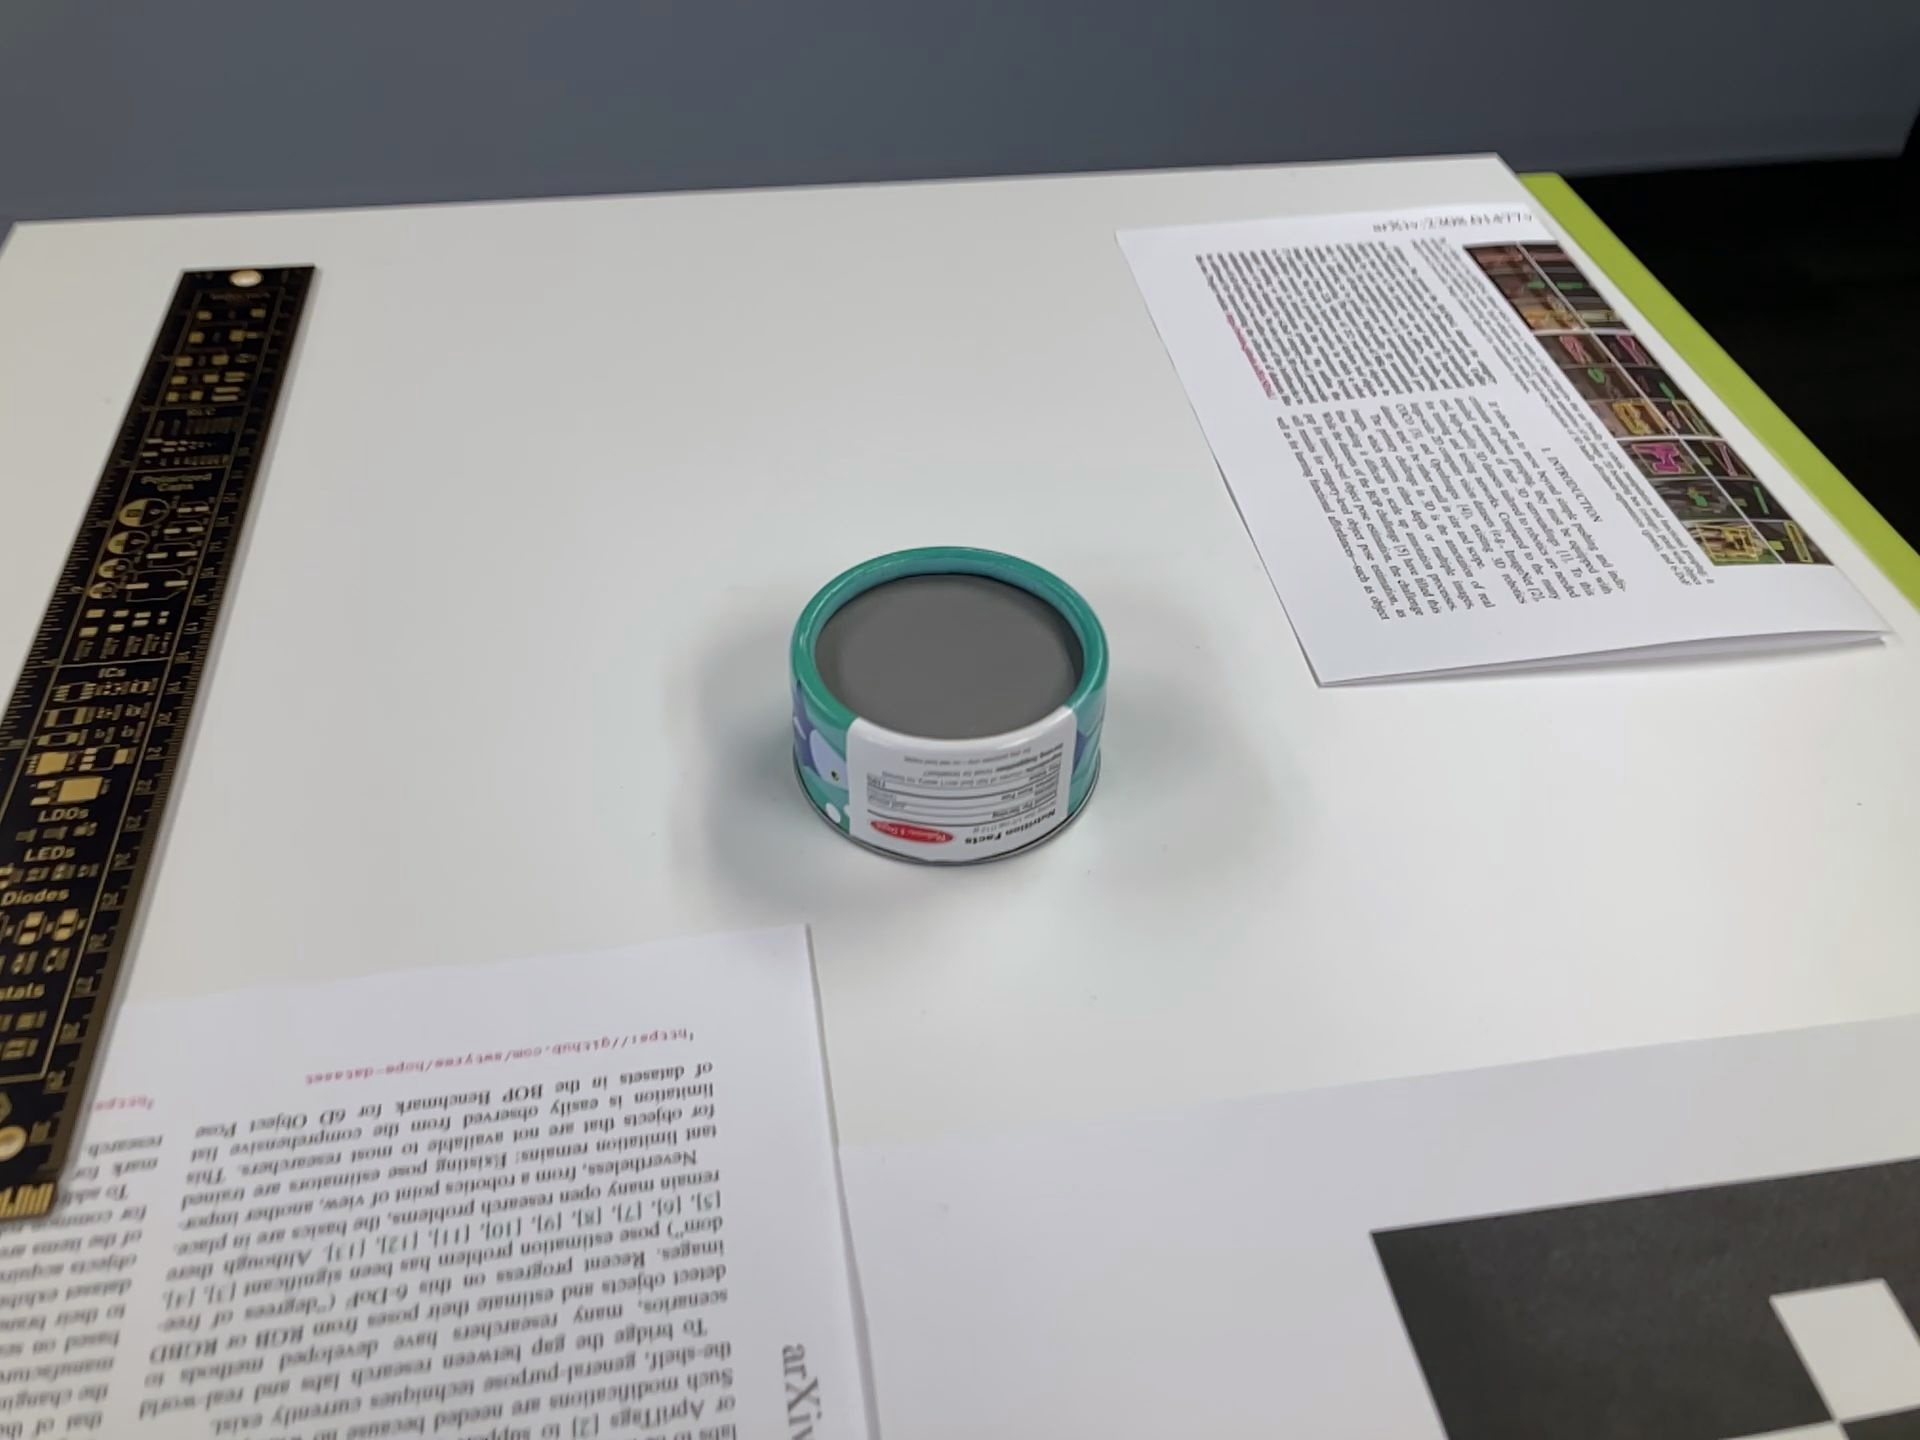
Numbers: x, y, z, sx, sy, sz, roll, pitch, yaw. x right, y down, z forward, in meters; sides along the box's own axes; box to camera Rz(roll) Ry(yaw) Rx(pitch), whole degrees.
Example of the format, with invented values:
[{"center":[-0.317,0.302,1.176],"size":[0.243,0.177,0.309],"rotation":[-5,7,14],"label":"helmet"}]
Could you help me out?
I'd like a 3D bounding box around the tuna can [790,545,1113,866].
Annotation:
[{"center":[-0.002,-0.007,0.331],"size":[0.071,0.033,0.071],"rotation":[2,43,-2],"label":"tuna can"}]
